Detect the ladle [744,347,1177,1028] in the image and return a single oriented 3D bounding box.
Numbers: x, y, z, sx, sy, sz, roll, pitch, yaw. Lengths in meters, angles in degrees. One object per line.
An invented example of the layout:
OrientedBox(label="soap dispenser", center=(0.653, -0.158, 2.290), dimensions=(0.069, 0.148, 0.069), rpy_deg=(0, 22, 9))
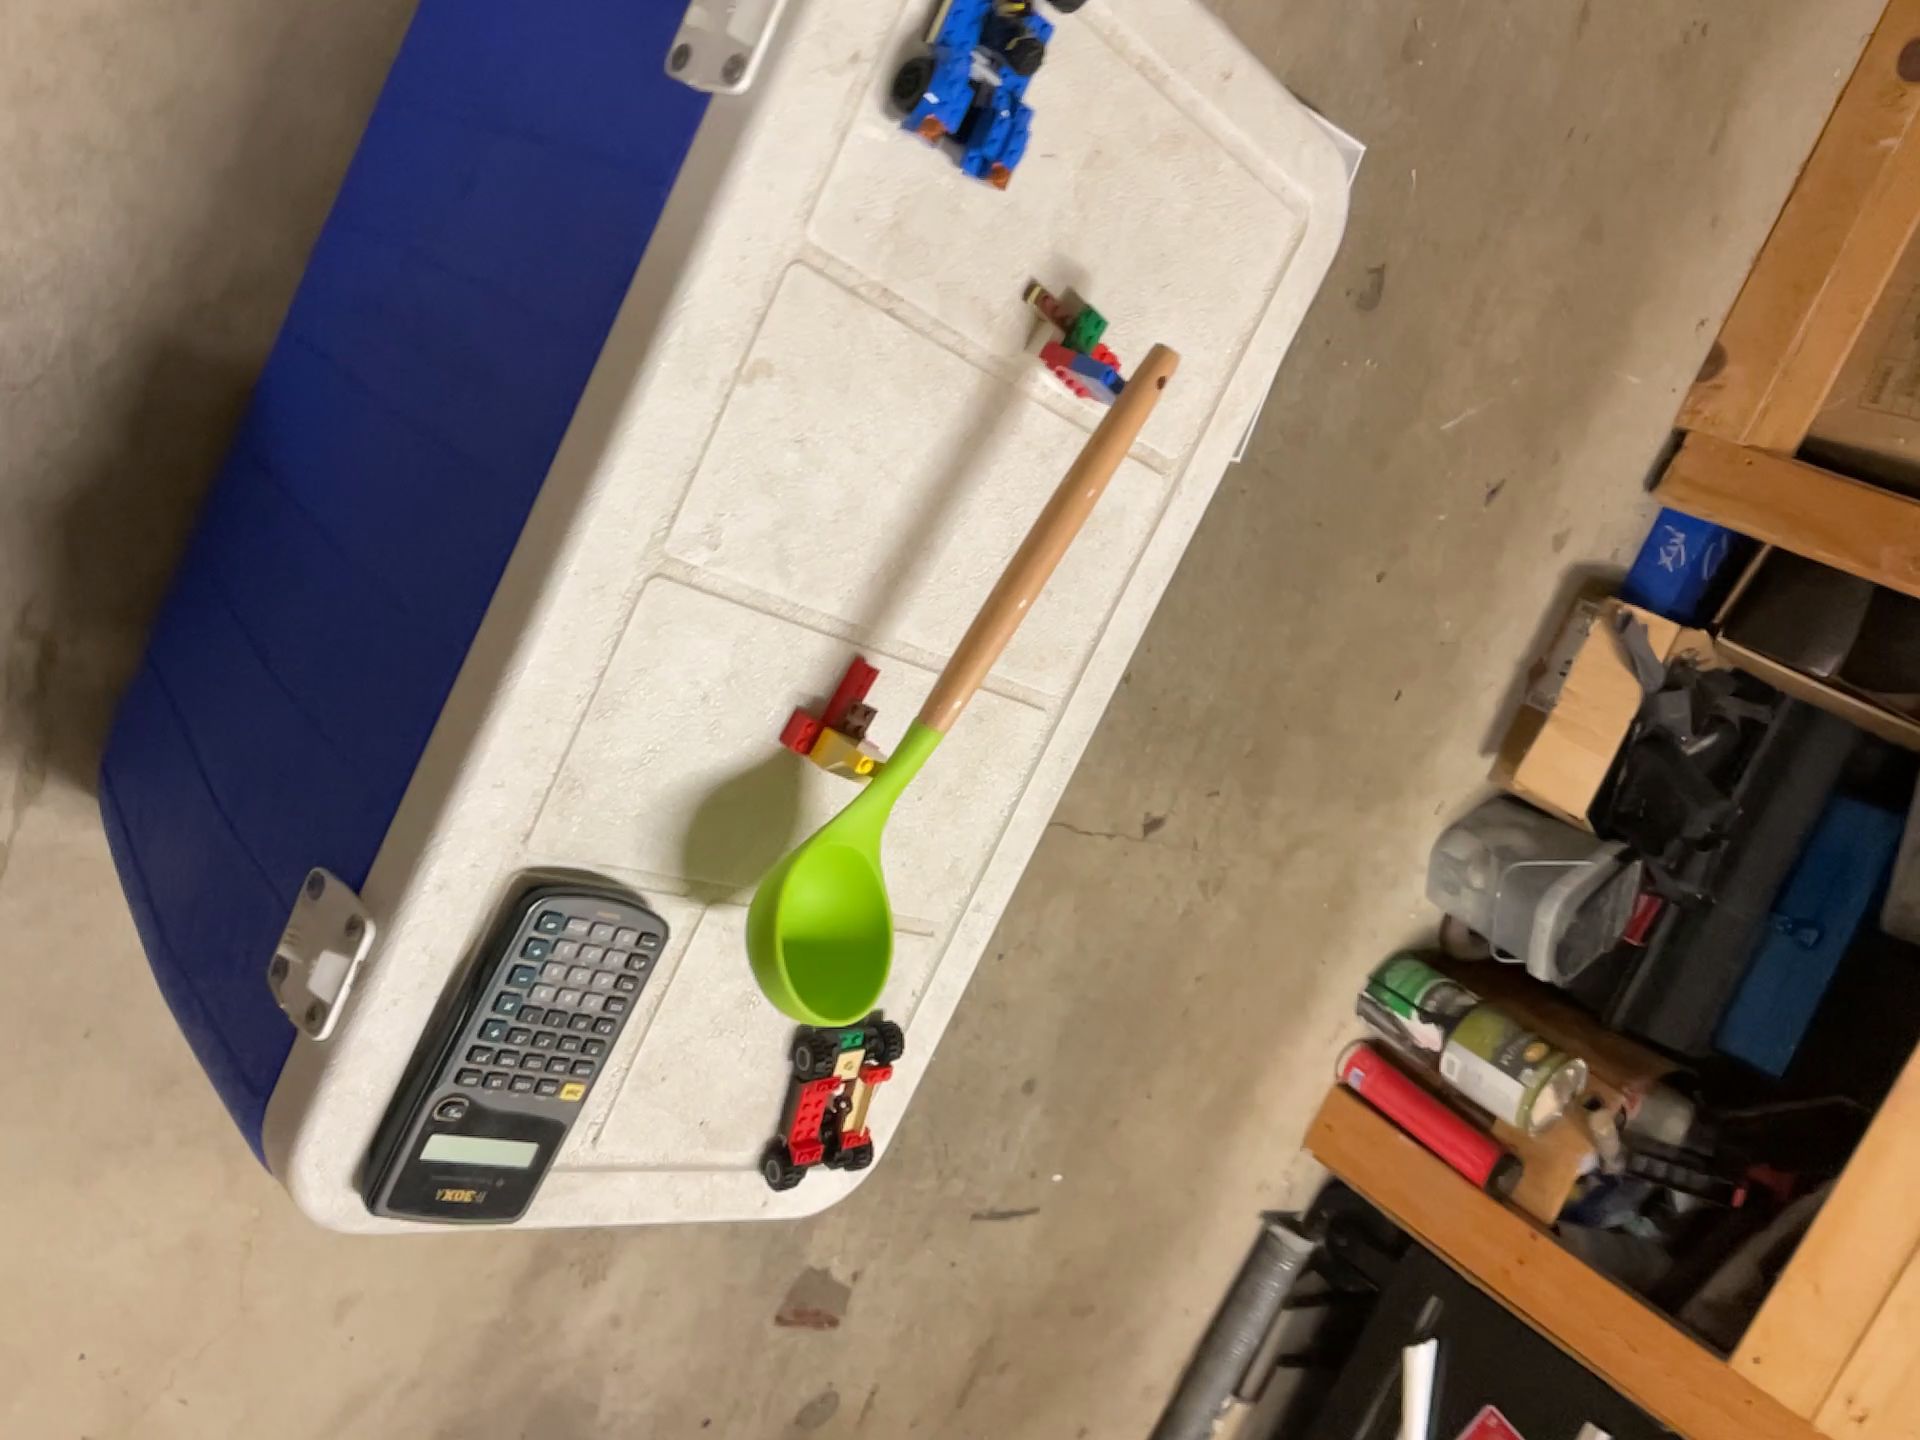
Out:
OrientedBox(label="ladle", center=(0.008, -0.014, 0.670), dimensions=(0.078, 0.062, 0.320), rpy_deg=(29, 95, -48))
